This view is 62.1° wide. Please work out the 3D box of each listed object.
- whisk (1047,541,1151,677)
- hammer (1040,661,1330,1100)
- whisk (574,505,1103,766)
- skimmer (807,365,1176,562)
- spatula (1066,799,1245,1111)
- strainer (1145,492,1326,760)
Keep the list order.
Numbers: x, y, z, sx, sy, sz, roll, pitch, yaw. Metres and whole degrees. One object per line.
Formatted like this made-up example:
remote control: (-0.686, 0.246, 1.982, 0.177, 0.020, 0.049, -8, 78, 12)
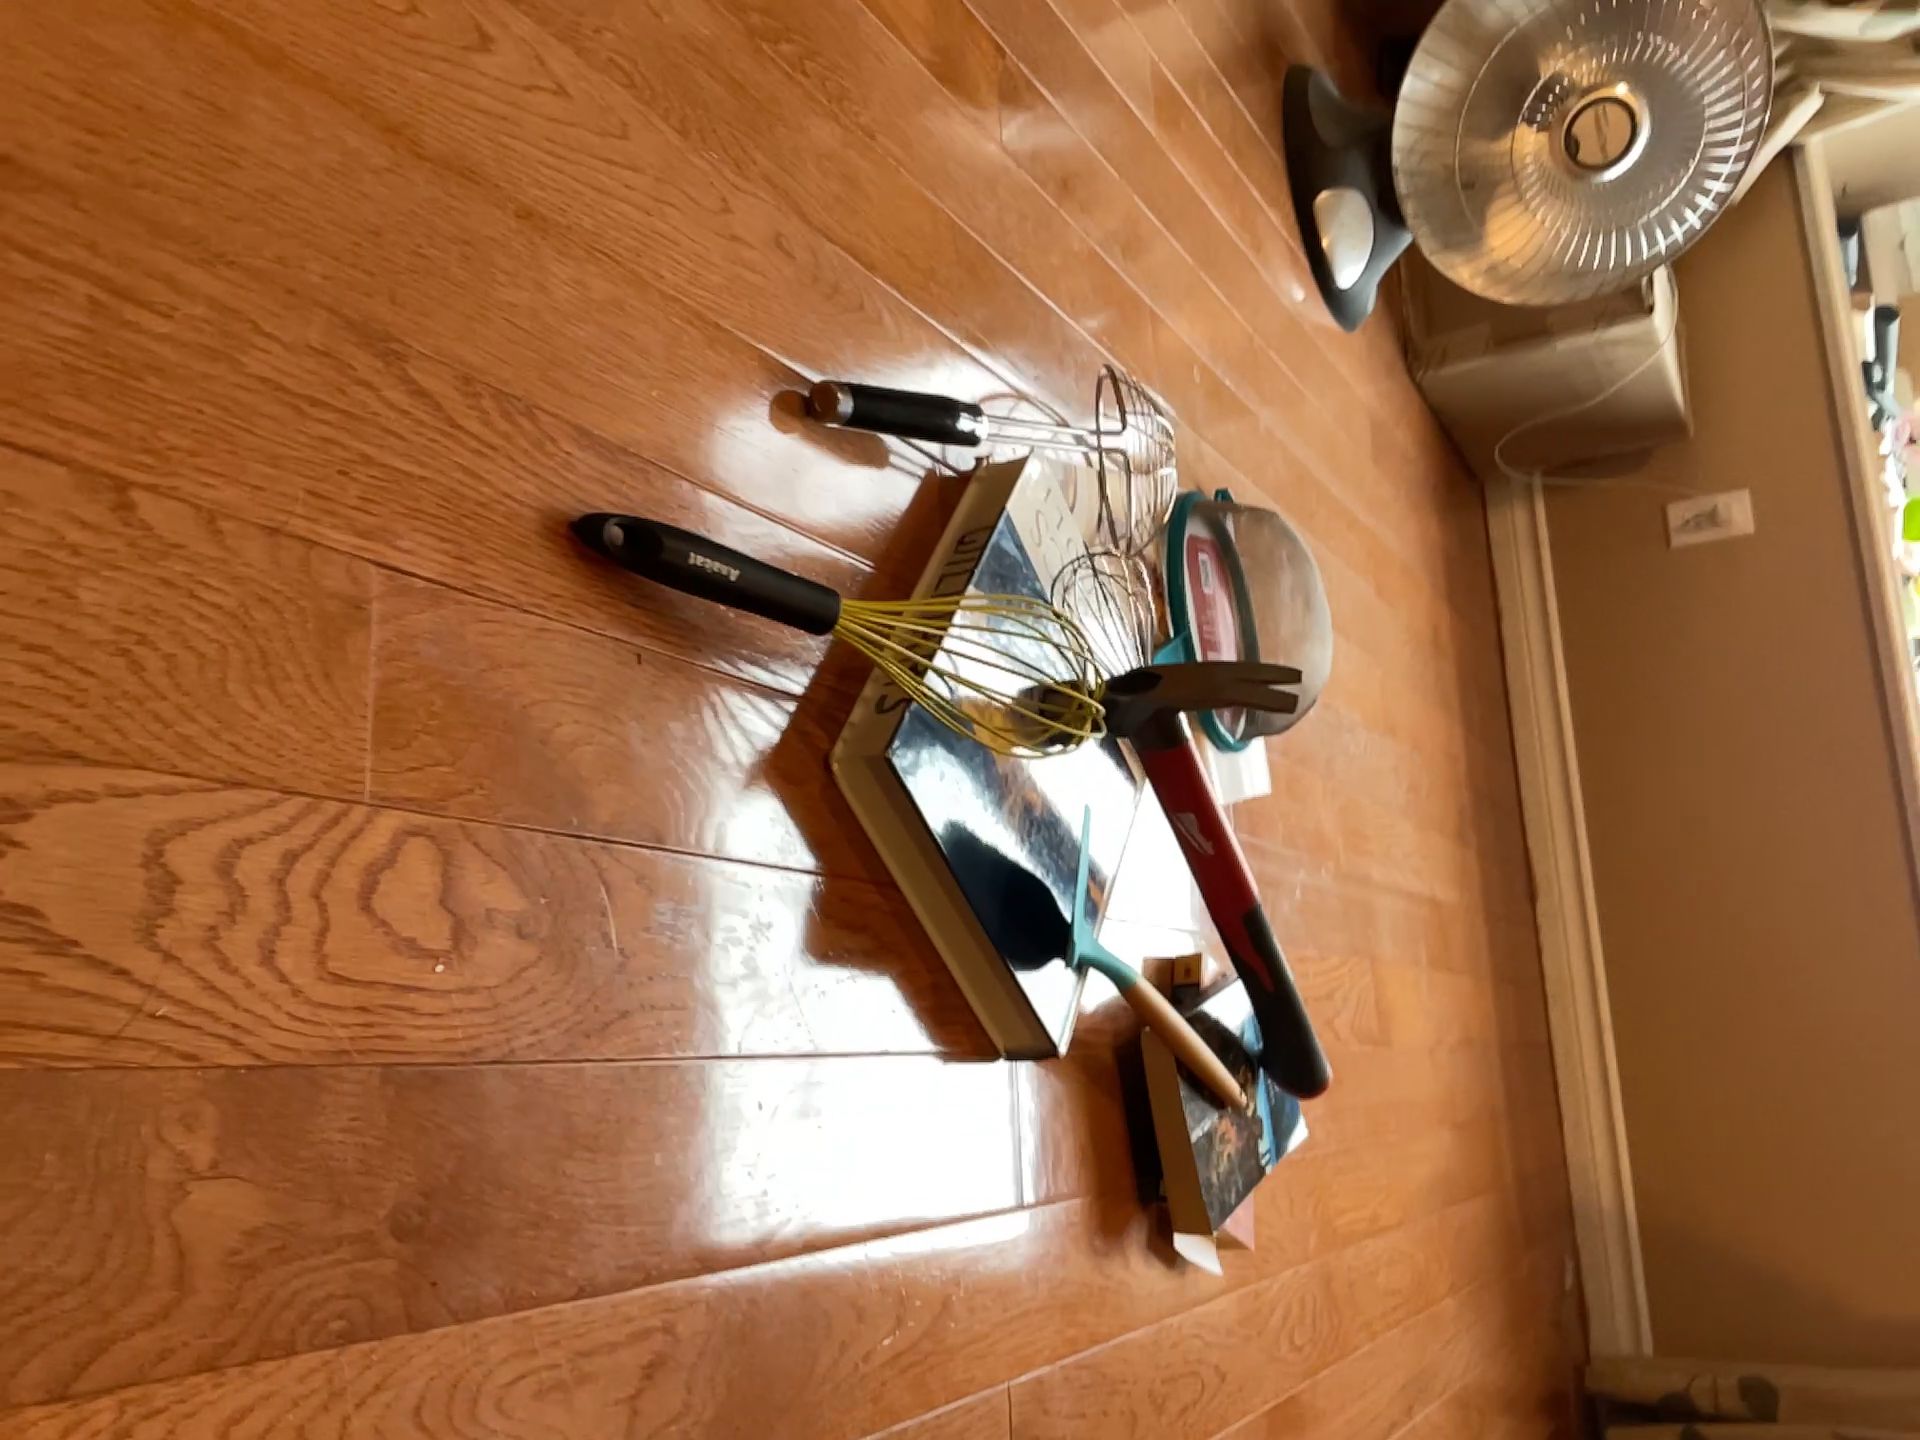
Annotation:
whisk: (0.111, -0.013, 0.971, 0.246, 0.058, 0.059, 62, 2, -41)
hammer: (0.181, 0.113, 0.972, 0.386, 0.143, 0.038, 61, 37, -38)
whisk: (-0.041, -0.042, 0.717, 0.311, 0.067, 0.080, 19, 80, -44)
skimmer: (0.022, -0.160, 0.938, 0.363, 0.090, 0.127, -5, 88, -51)
spatula: (0.115, 0.160, 0.917, 0.317, 0.044, 0.082, 50, 39, -44)
strainer: (0.212, -0.066, 1.175, 0.341, 0.095, 0.211, -34, 113, -67)
